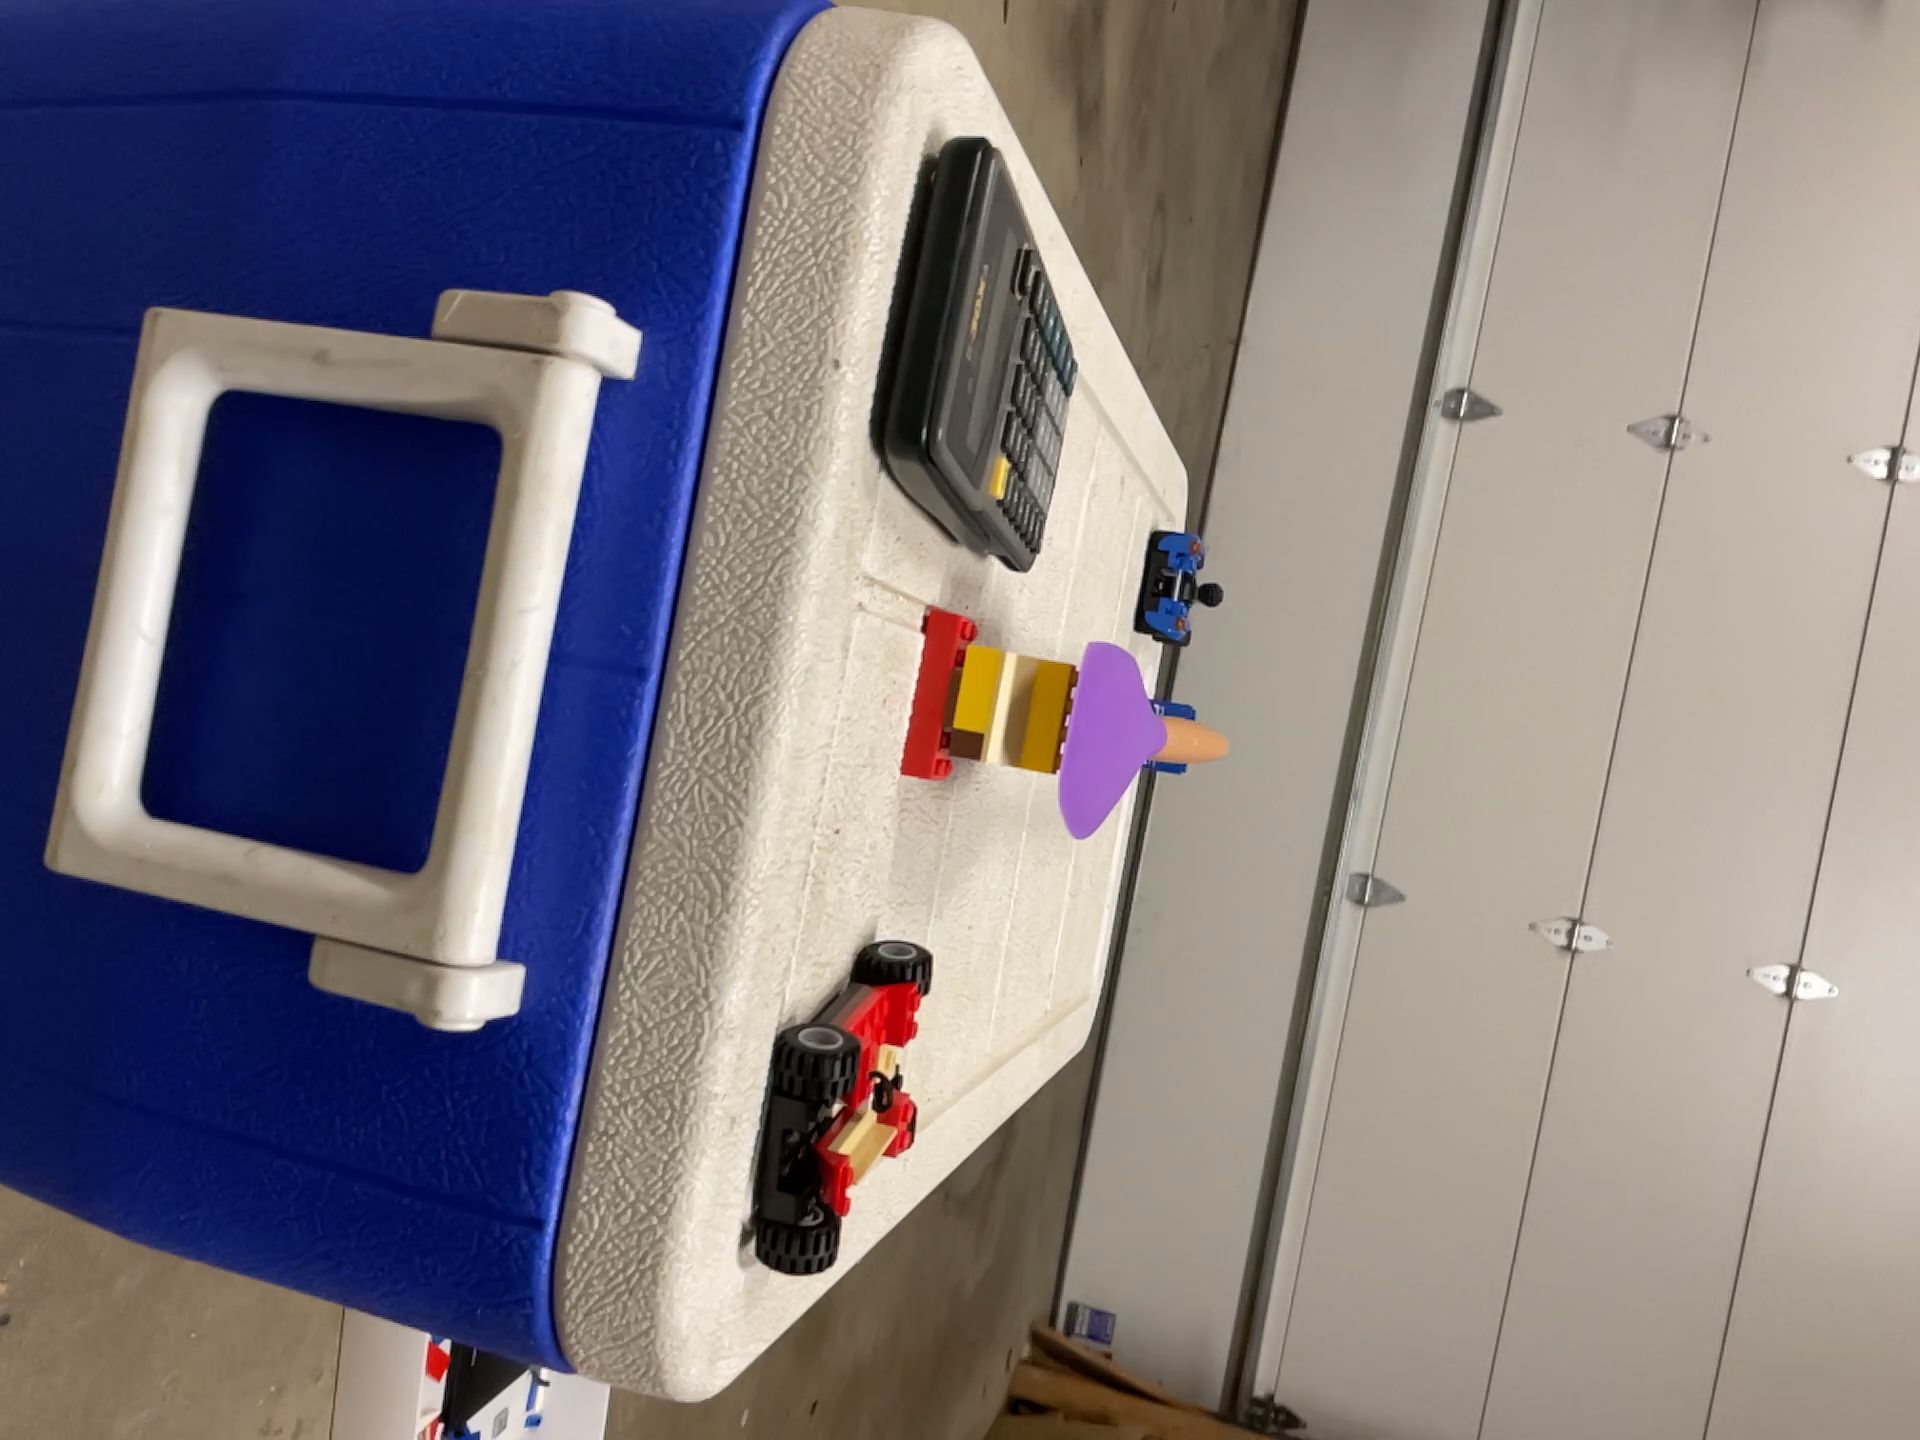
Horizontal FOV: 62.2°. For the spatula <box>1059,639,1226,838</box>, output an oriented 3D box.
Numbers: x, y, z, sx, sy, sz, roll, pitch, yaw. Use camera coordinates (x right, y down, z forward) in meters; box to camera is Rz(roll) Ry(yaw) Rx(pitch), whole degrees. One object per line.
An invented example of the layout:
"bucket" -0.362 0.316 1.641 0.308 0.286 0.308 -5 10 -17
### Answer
"spatula" 0.072 0.009 0.588 0.316 0.018 0.060 5 95 -74
